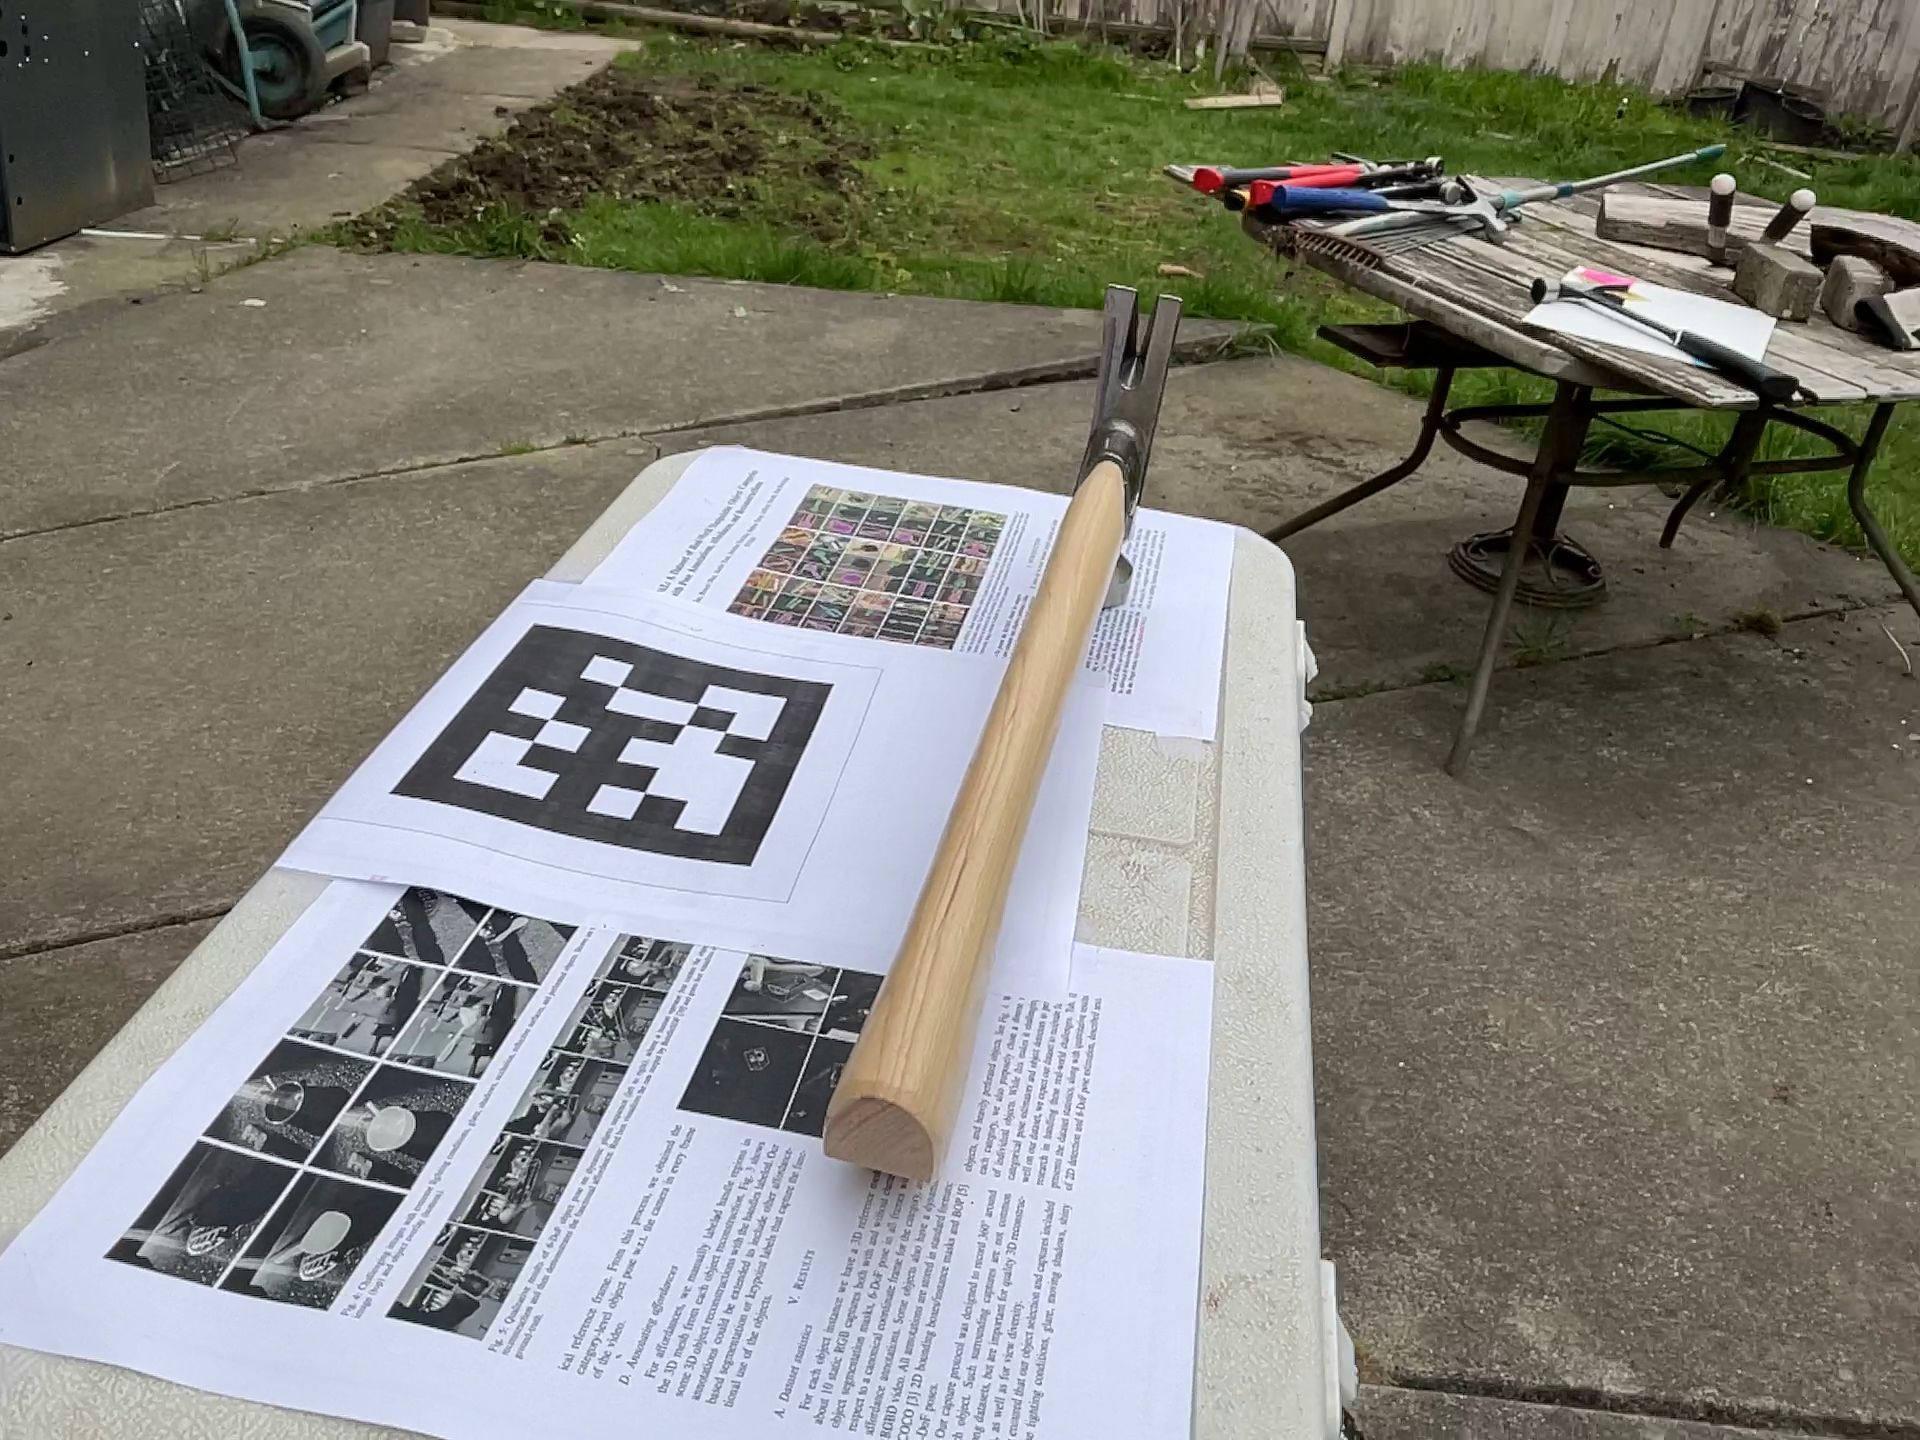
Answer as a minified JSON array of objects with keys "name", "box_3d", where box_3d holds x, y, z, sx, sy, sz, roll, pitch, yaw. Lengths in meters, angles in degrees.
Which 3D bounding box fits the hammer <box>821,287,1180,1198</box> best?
[{"name":"hammer","box_3d":[0.027,-0.014,0.553,0.038,0.146,0.410,12,36,7]}]
